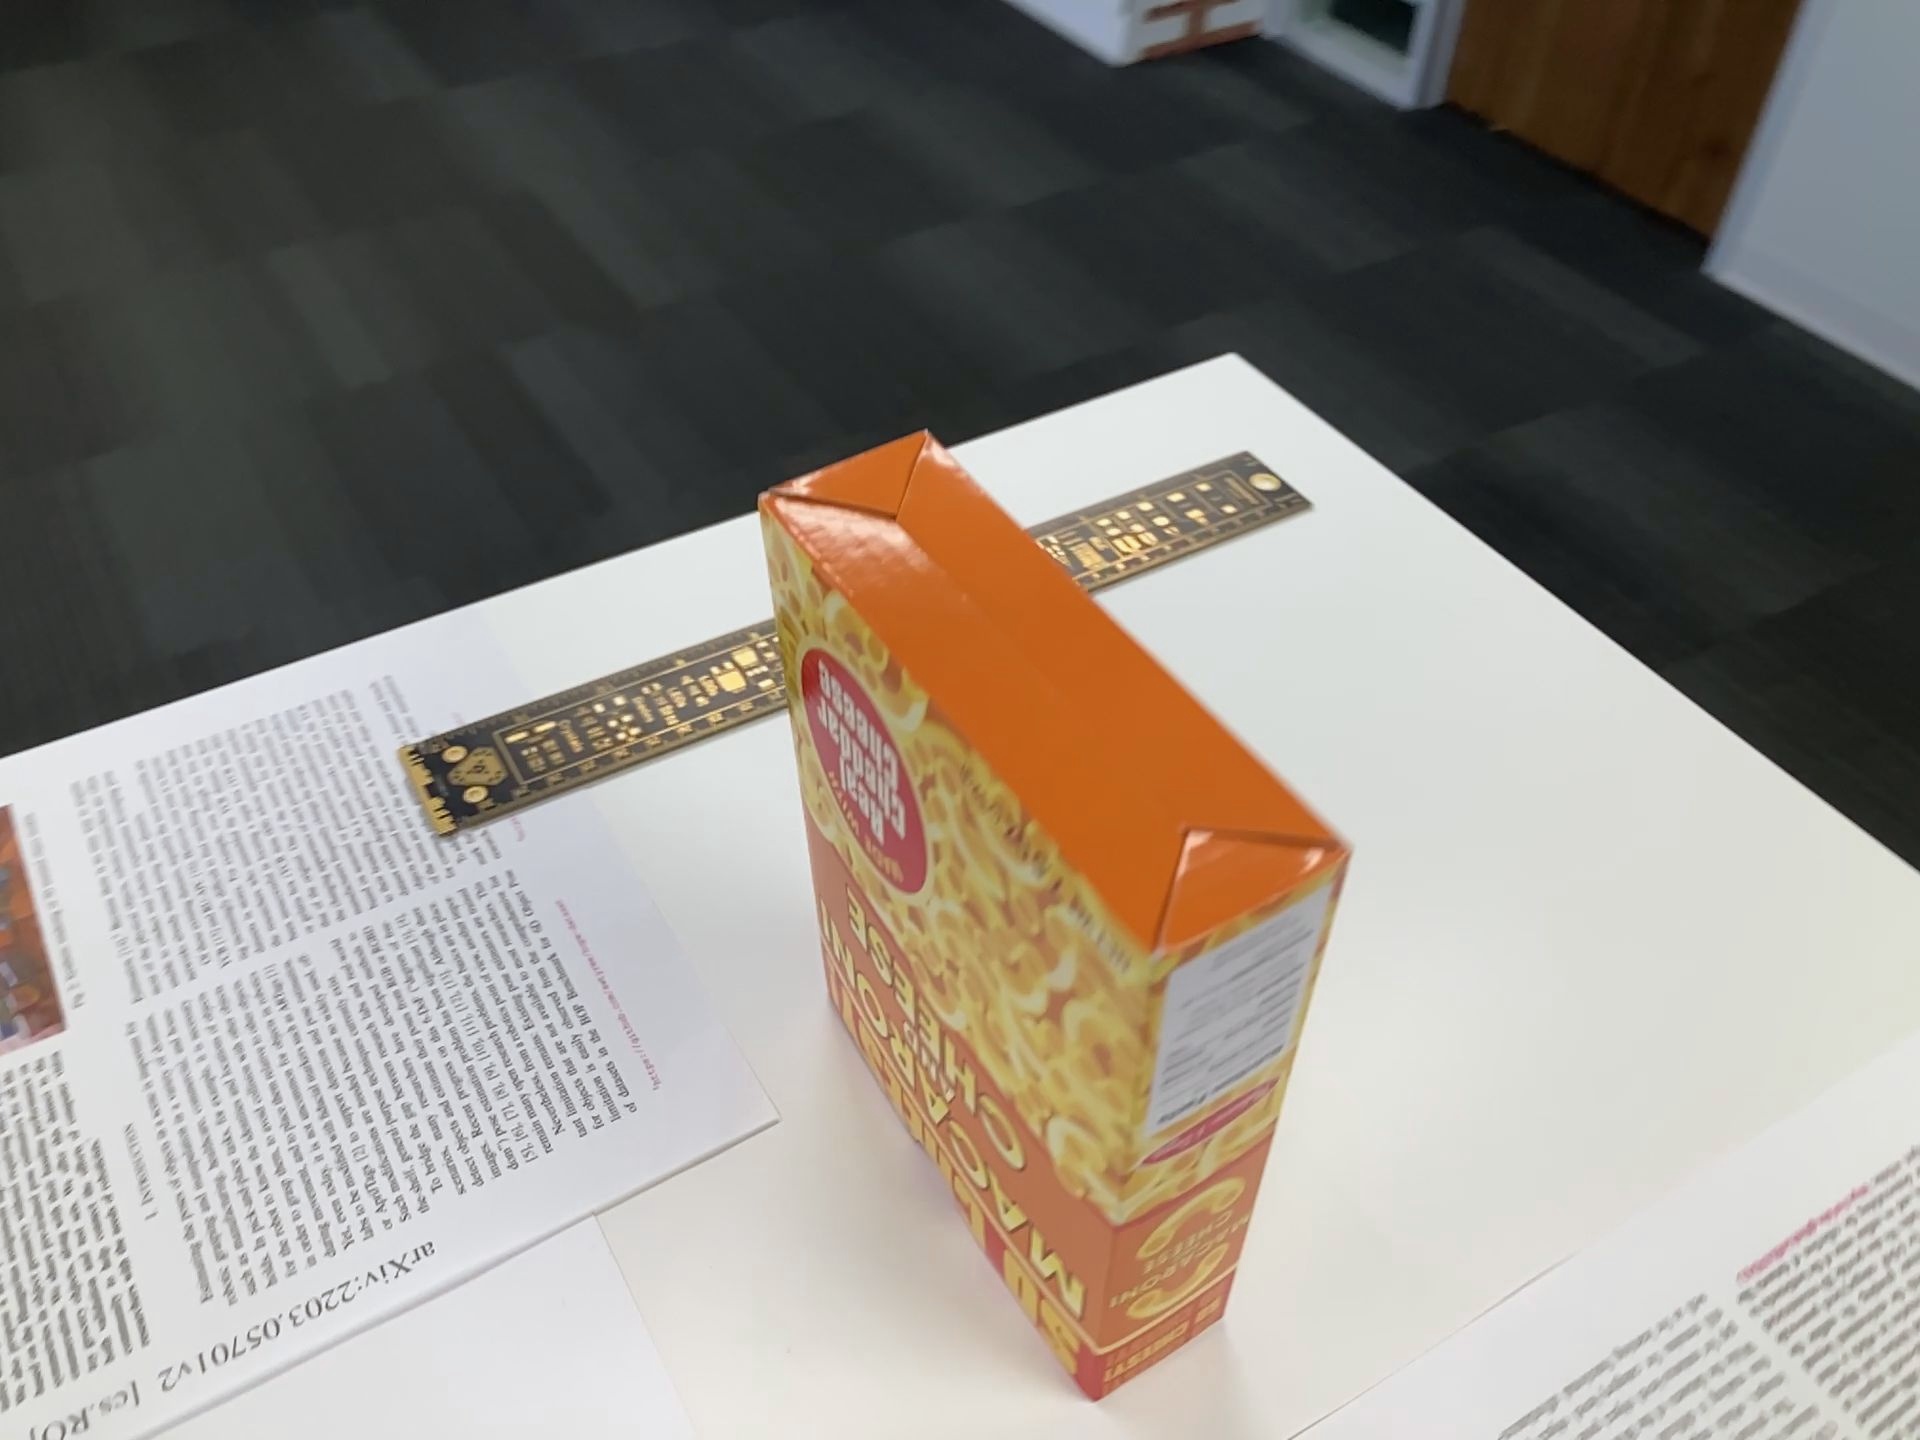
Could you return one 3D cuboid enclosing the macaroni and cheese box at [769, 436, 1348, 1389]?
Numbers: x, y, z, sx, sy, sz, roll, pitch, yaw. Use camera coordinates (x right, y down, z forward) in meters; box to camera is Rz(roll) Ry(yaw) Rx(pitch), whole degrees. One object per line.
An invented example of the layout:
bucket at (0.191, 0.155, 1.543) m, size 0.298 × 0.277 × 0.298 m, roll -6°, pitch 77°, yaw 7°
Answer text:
macaroni and cheese box at (0.011, 0.045, 0.326) m, size 0.040 × 0.166 × 0.124 m, roll -24°, pitch 51°, yaw -20°
